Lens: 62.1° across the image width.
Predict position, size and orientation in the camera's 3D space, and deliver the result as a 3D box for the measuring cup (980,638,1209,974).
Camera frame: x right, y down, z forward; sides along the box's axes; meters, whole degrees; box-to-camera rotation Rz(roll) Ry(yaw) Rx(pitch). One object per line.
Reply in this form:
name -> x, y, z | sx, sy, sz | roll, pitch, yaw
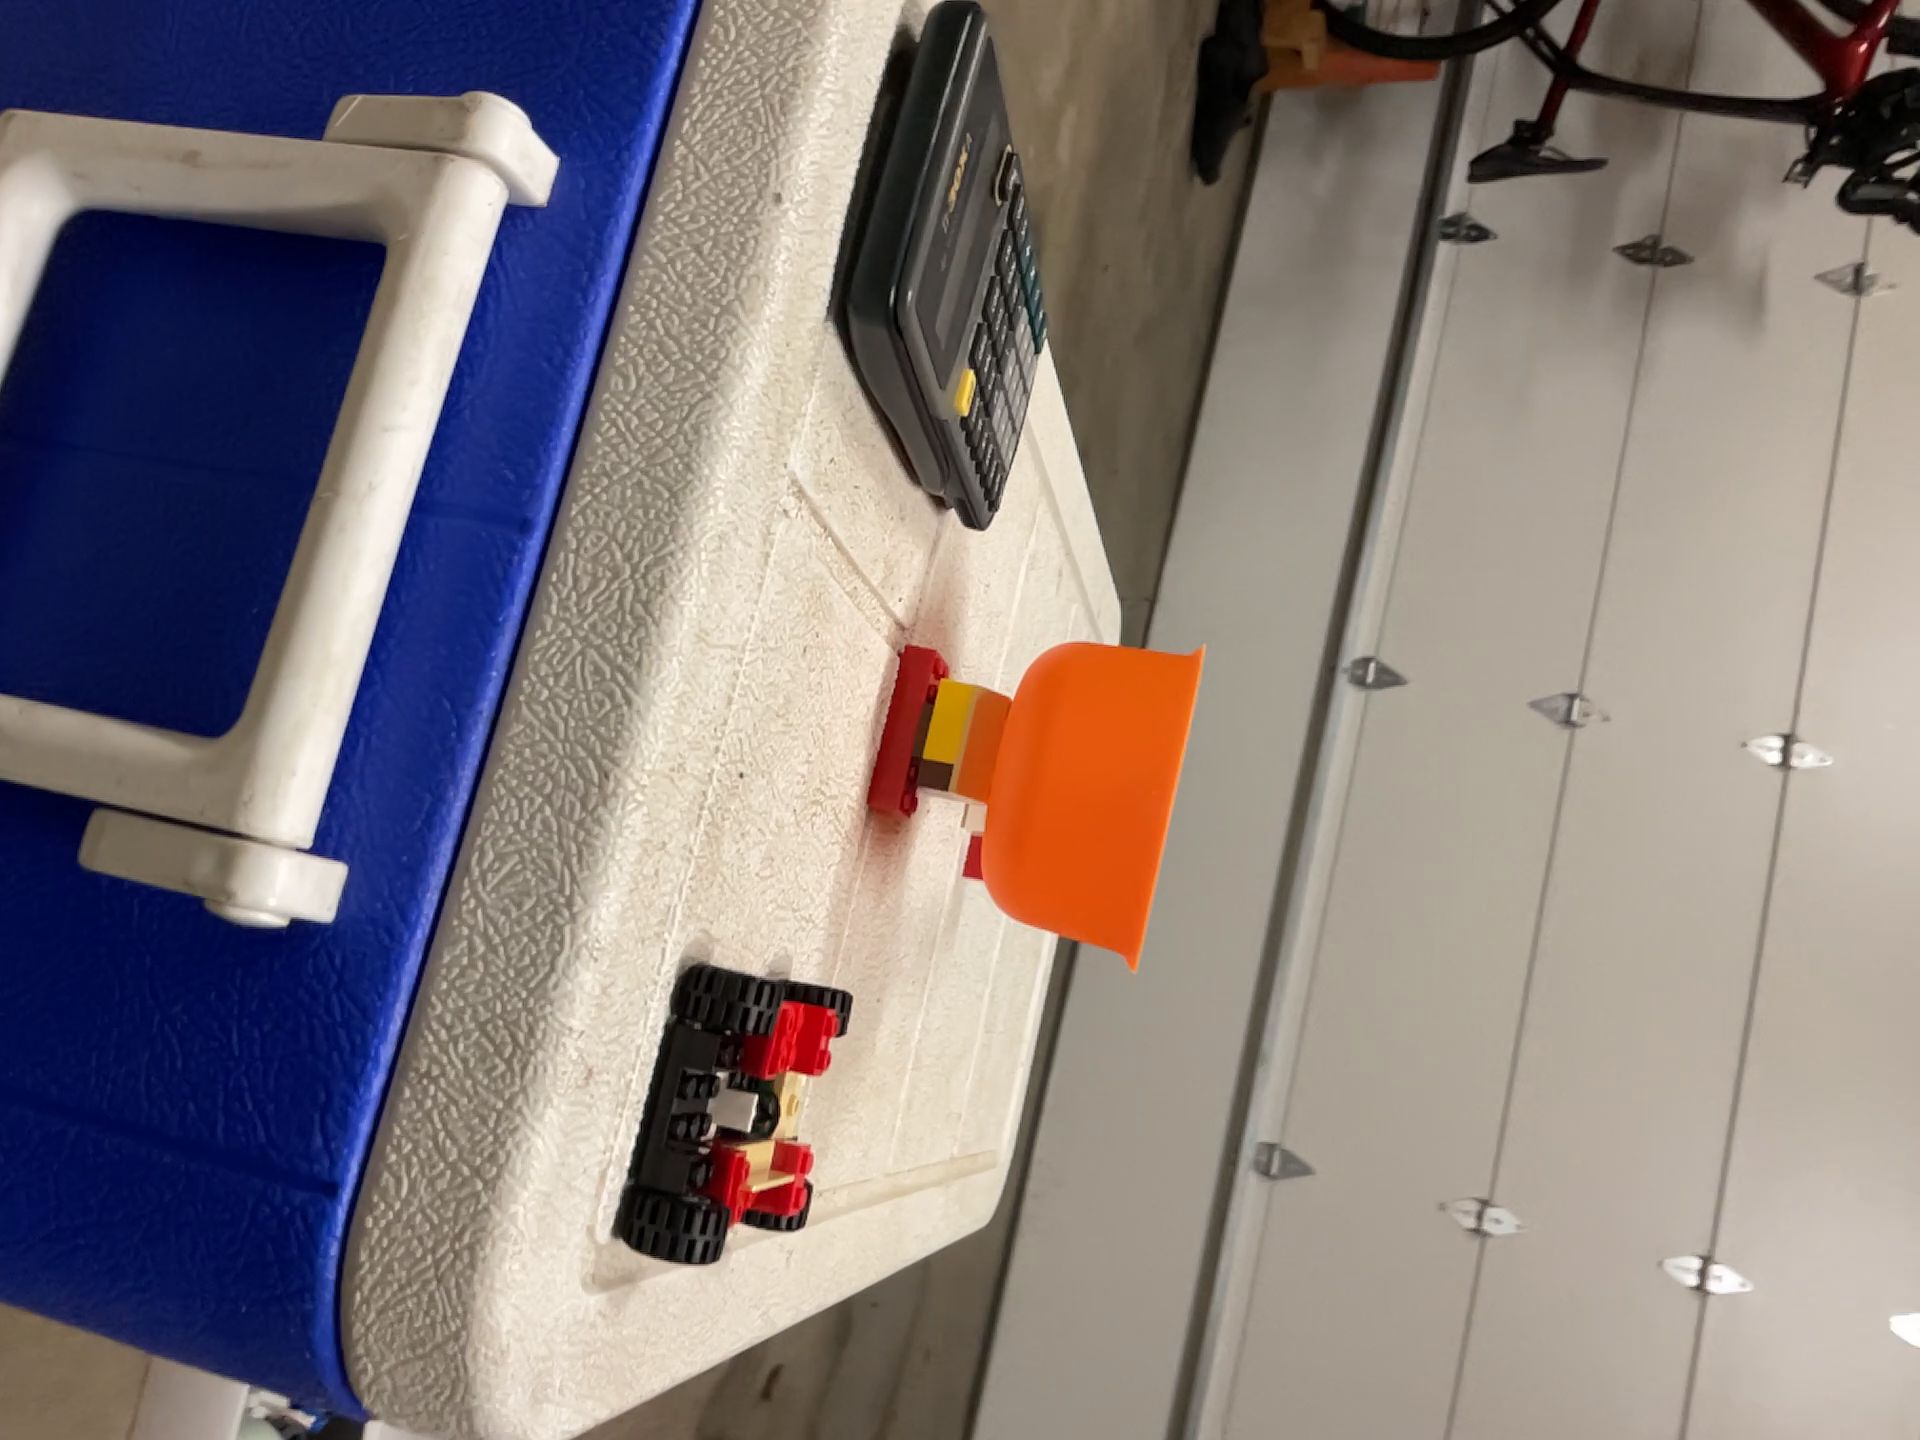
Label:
measuring cup -> 0.041, 0.025, 0.499 | 0.173, 0.052, 0.095 | 50, 52, -81
